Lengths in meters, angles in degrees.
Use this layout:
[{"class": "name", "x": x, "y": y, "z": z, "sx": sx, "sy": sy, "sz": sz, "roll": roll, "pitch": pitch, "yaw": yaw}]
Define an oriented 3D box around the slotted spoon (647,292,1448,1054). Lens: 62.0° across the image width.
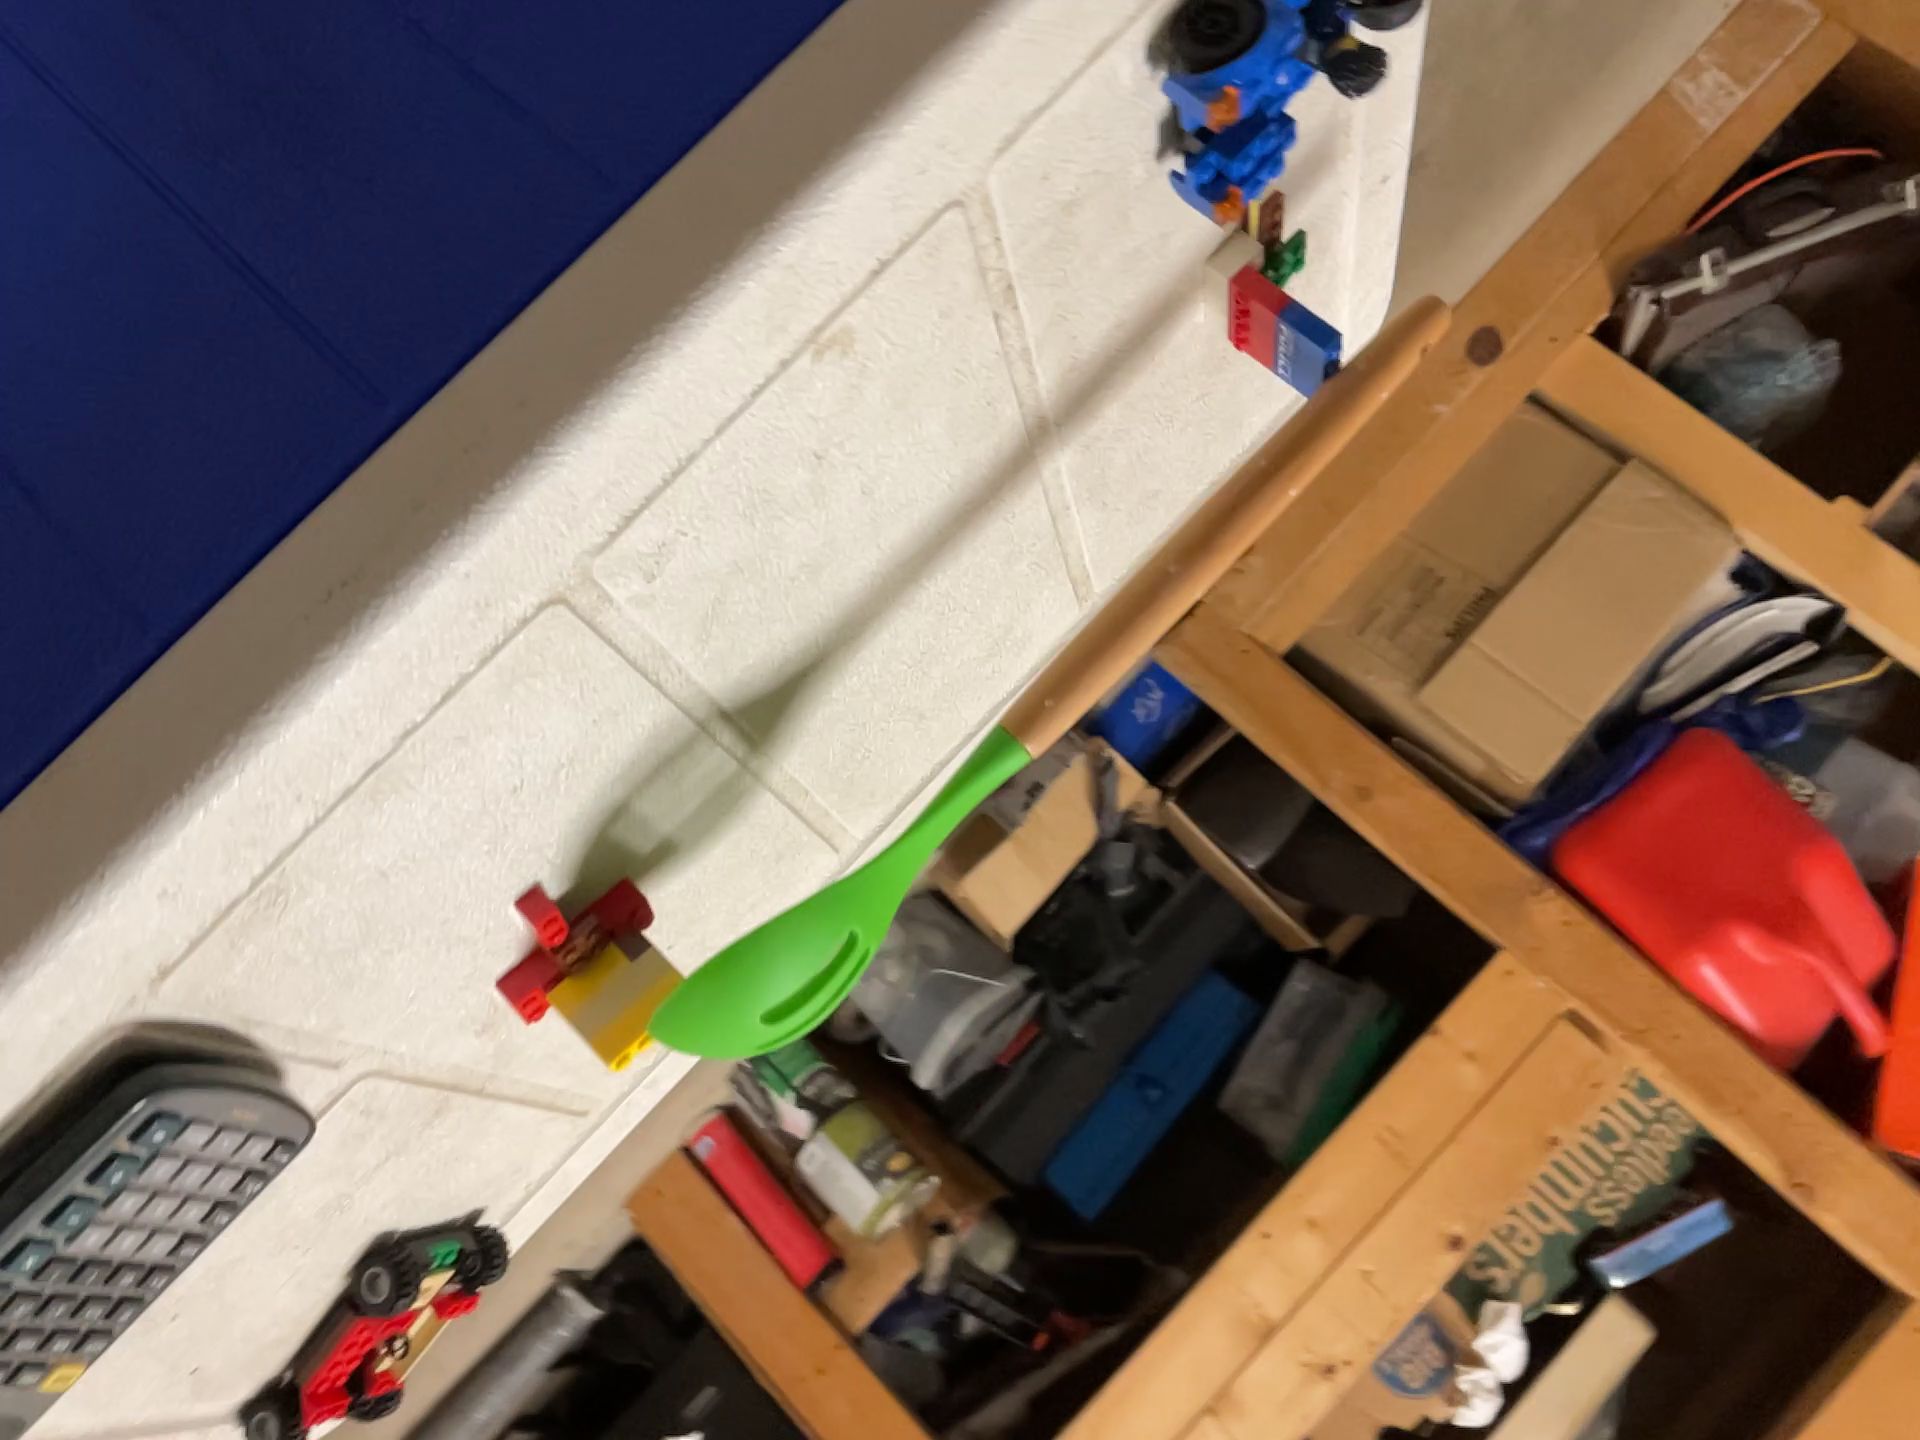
[{"class": "slotted spoon", "x": 0.033, "y": -0.014, "z": 0.464, "sx": 0.314, "sy": 0.031, "sz": 0.070, "roll": -45, "pitch": 159, "yaw": -6}]
